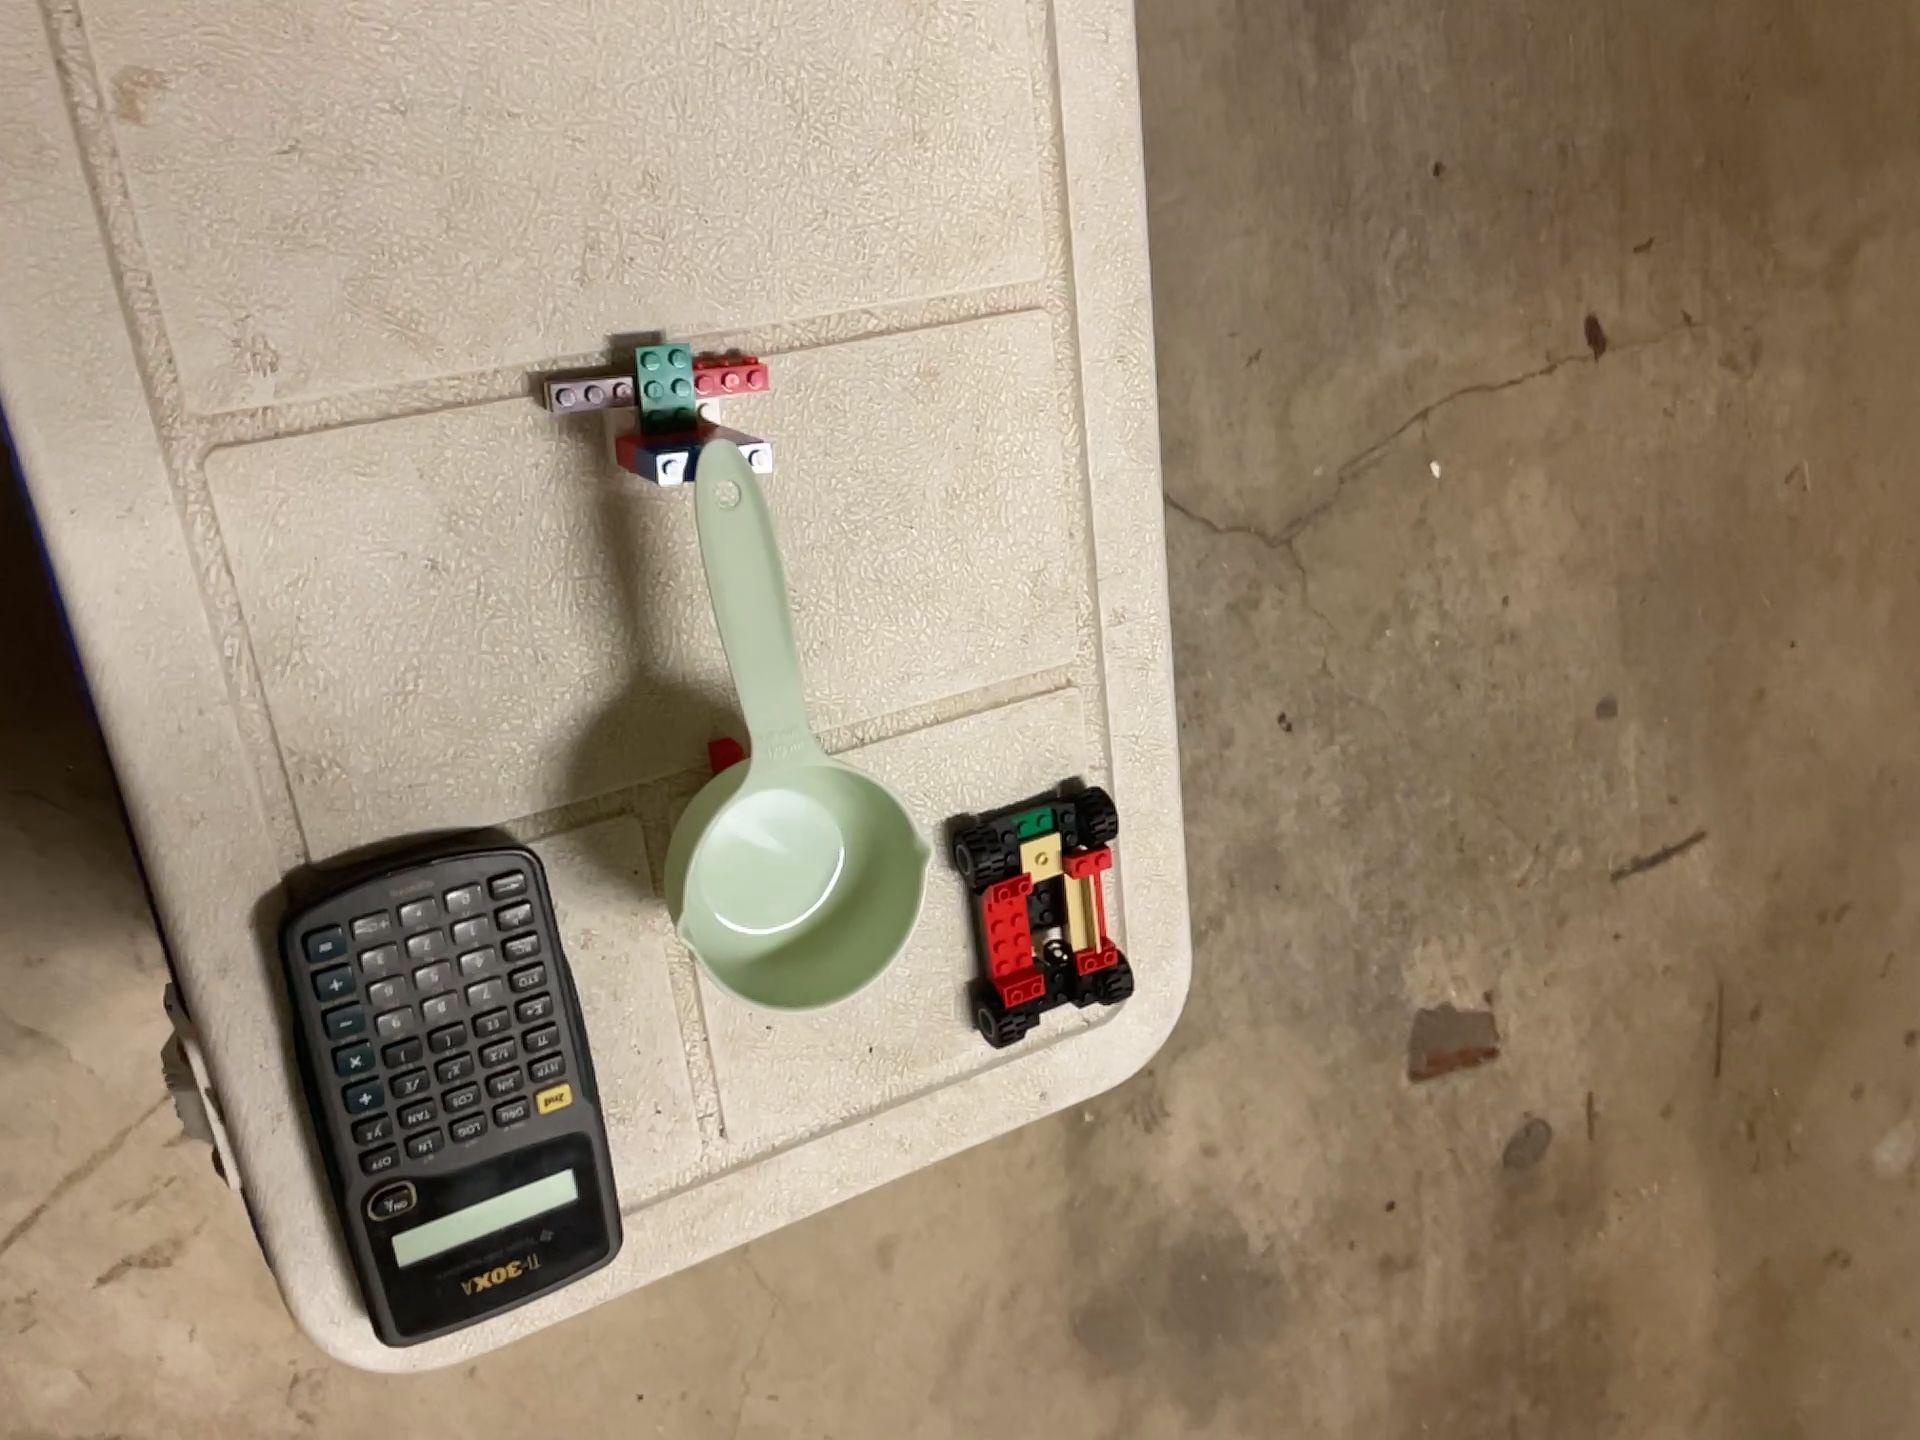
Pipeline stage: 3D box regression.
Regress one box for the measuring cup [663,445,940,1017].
[{"bbox_3d":[-0.059,0.003,0.464,0.083,0.038,0.167,-18,107,-23],"label":"measuring cup"}]
